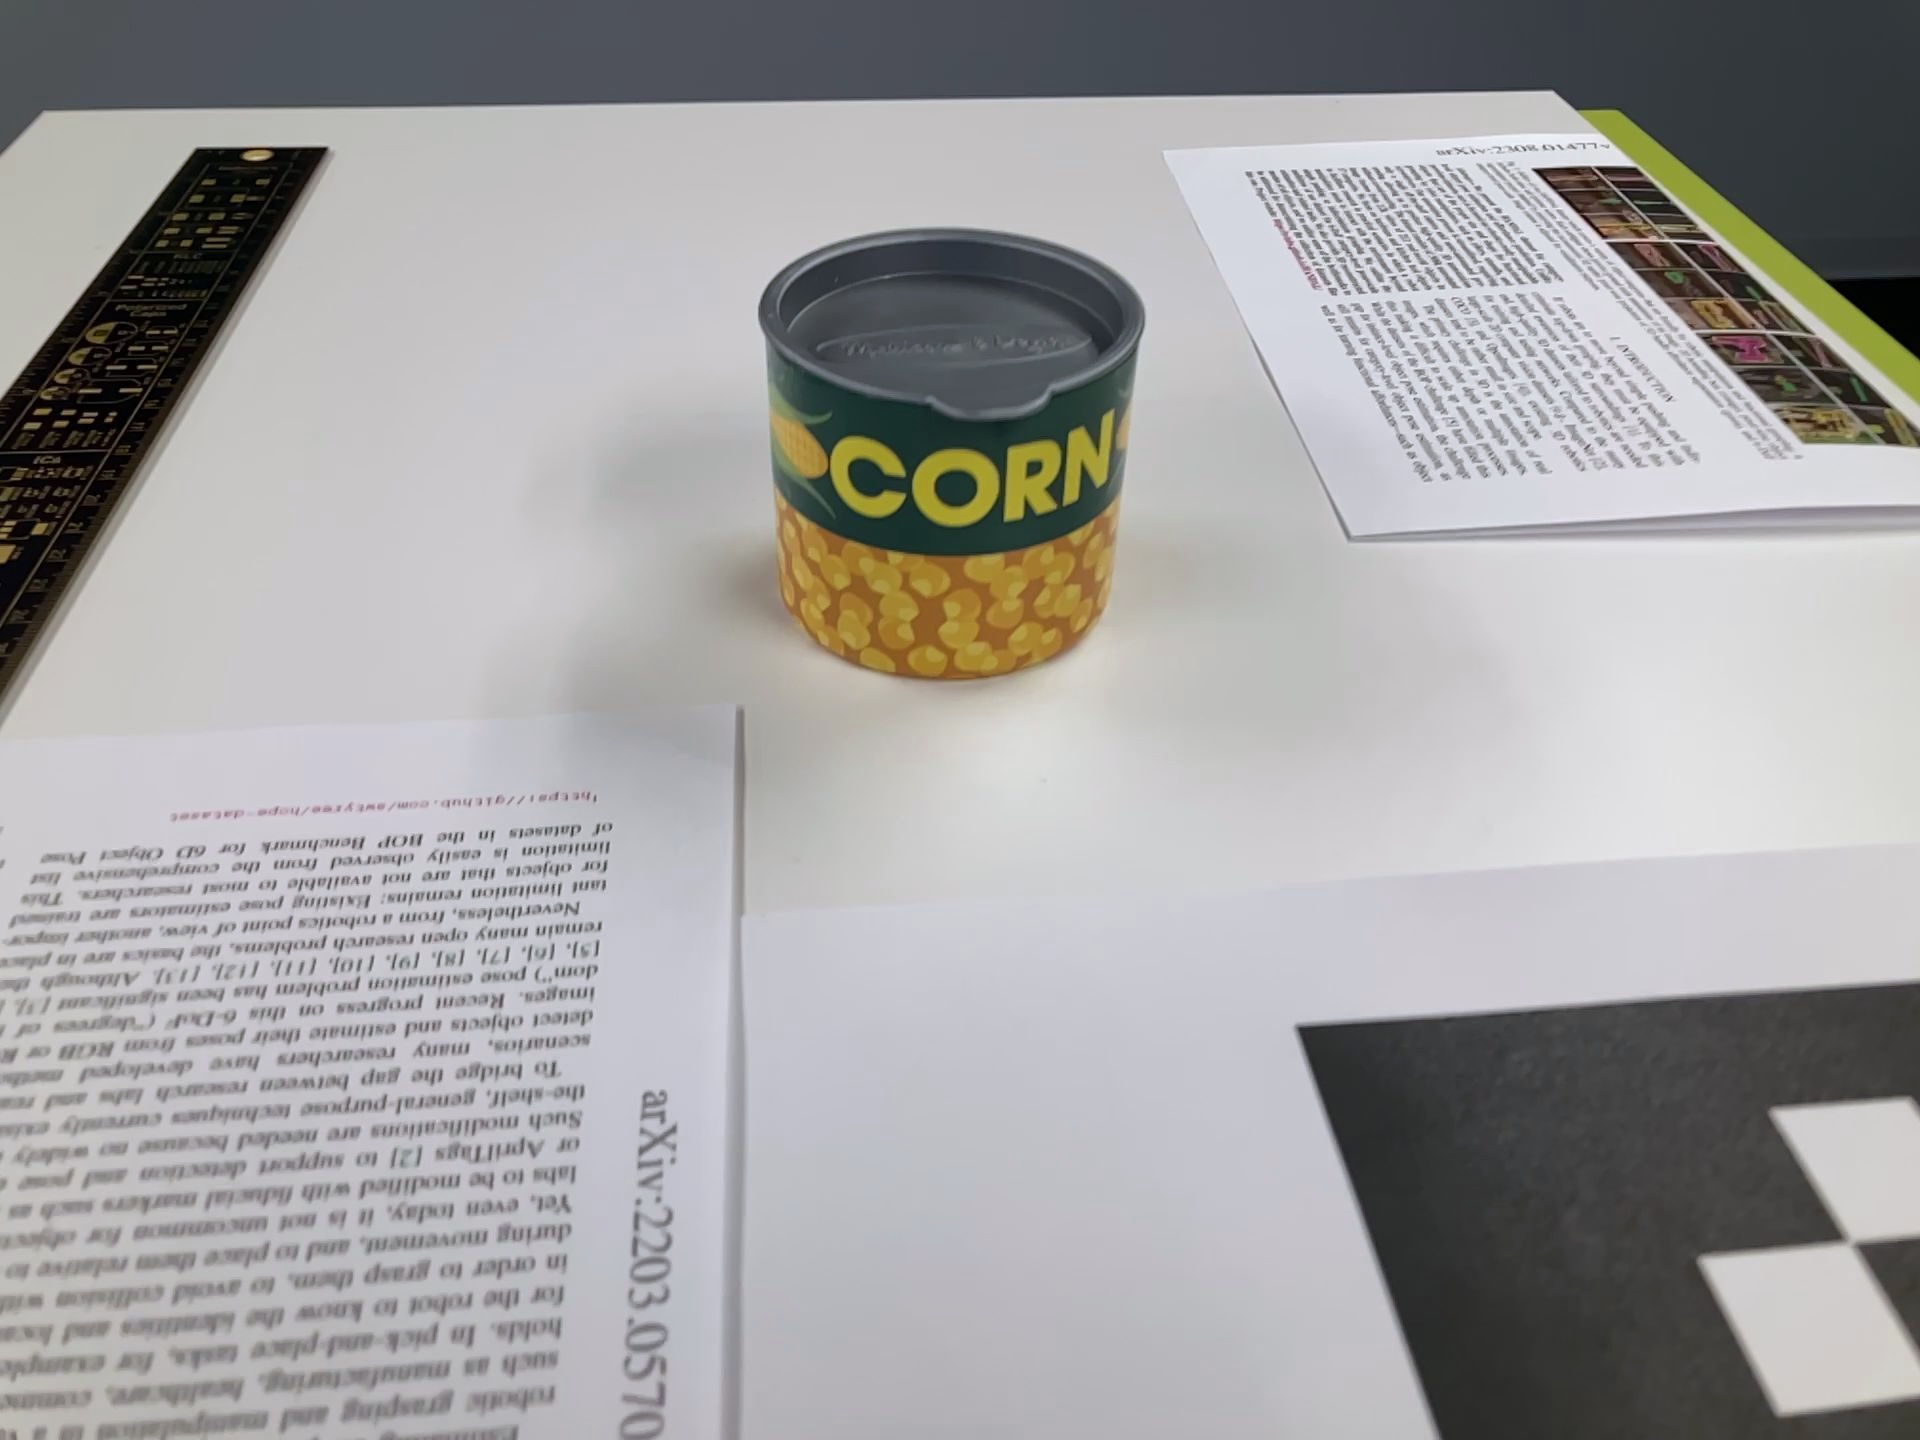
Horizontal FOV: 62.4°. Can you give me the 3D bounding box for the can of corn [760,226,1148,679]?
[{"bbox_3d":[-0.001,-0.048,0.288,0.071,0.058,0.071,1,39,-1],"label":"can of corn"}]
